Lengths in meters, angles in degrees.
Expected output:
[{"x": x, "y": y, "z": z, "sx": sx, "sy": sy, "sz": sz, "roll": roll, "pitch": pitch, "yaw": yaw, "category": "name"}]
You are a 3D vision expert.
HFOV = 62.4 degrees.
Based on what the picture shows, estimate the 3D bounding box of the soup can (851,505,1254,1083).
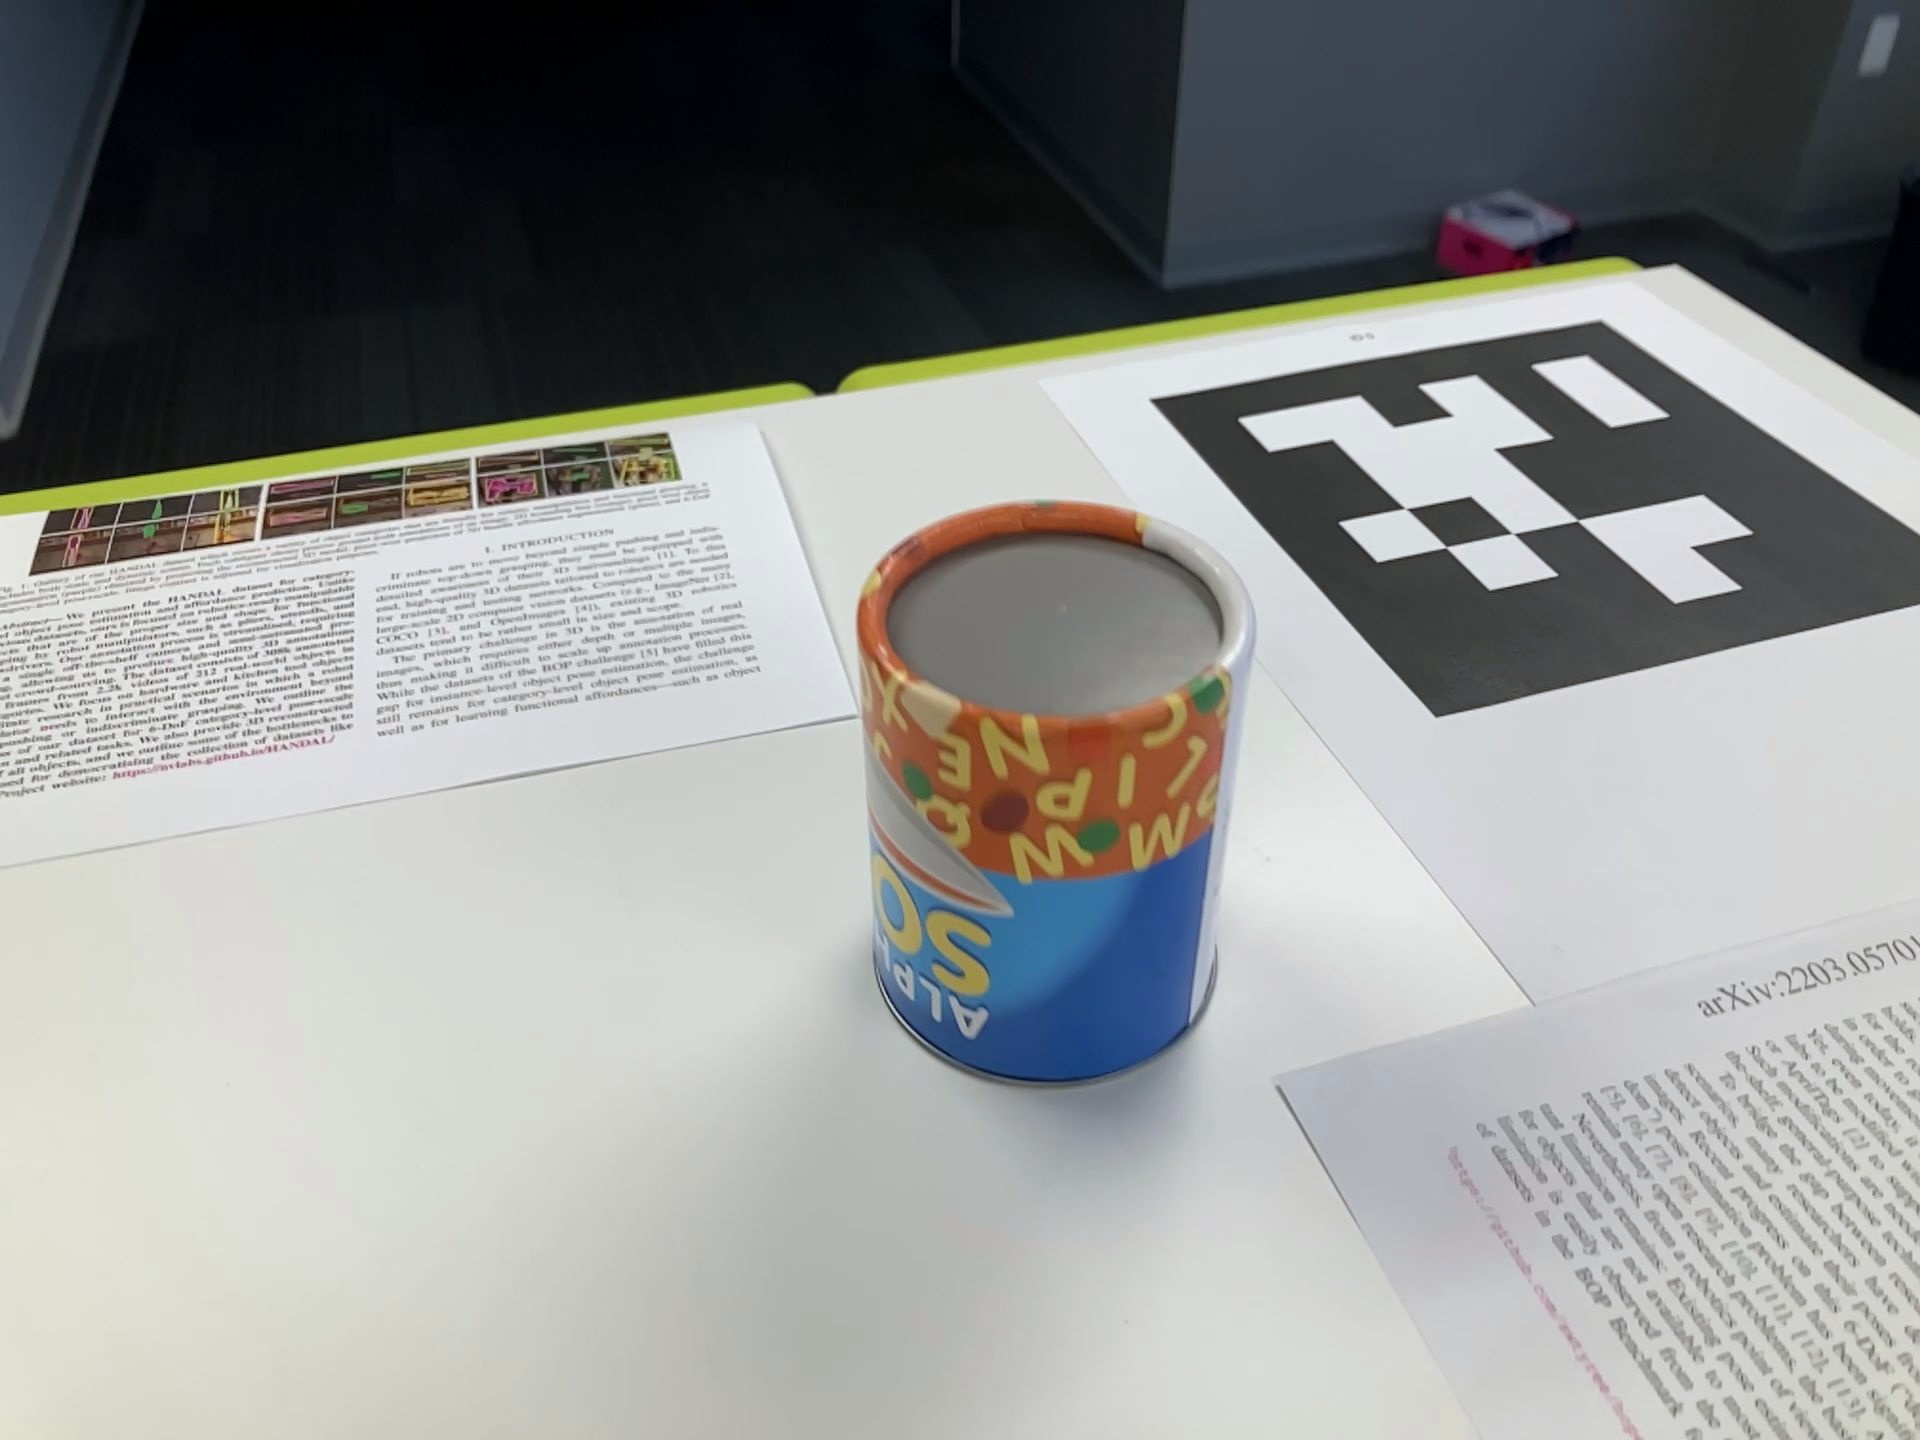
[{"x": 0.014, "y": 0.013, "z": 0.286, "sx": 0.071, "sy": 0.084, "sz": 0.071, "roll": -1, "pitch": 39, "yaw": 1, "category": "soup can"}]
